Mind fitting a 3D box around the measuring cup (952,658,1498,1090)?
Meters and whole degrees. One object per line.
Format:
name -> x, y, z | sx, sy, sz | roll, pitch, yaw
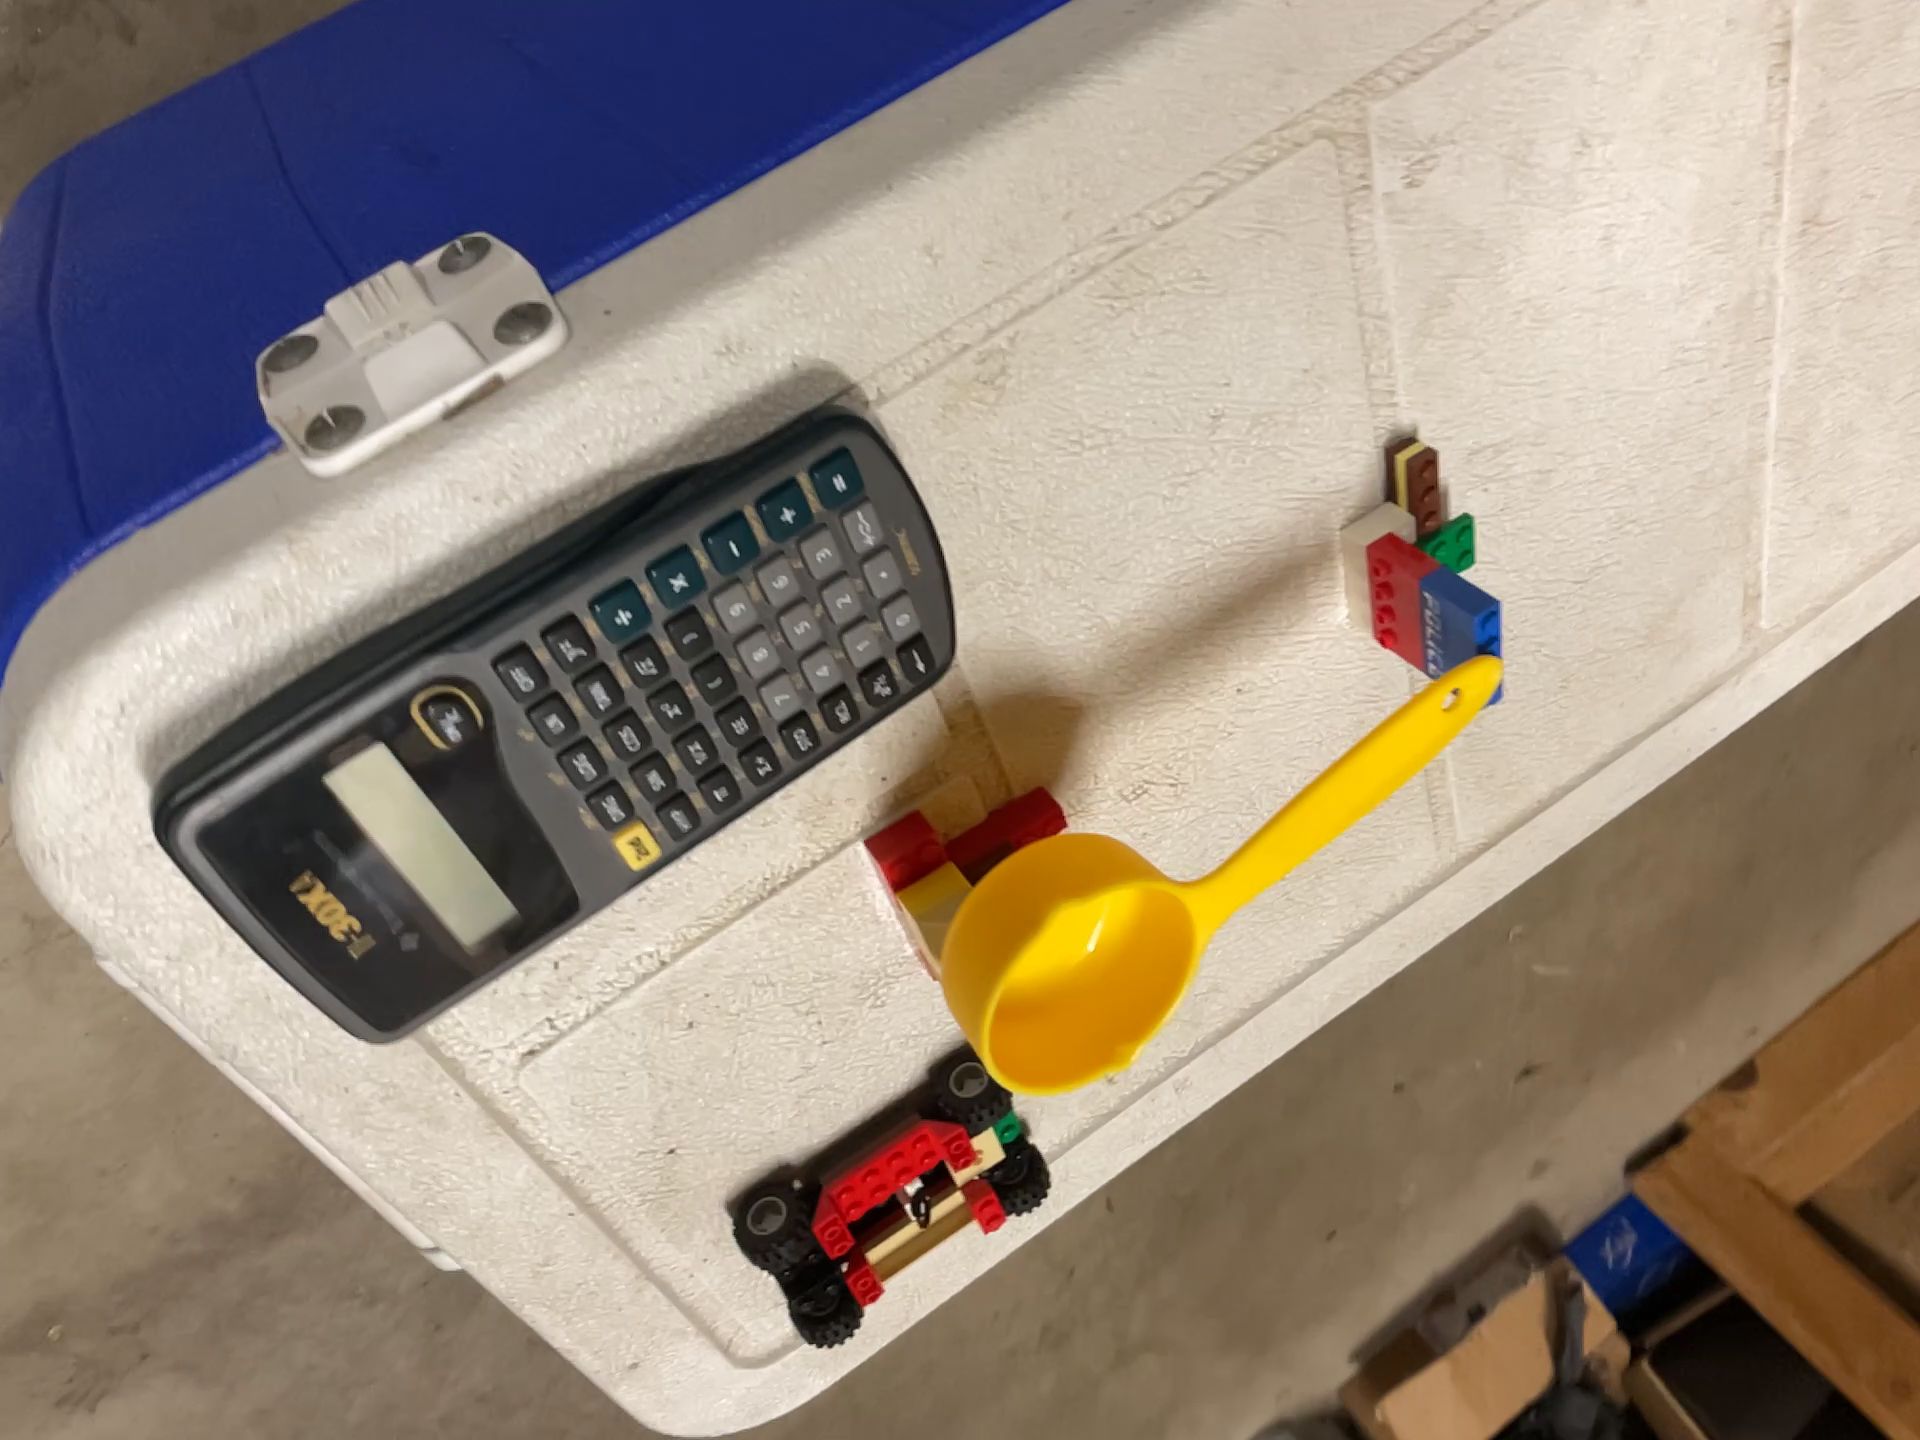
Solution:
measuring cup -> 0.064, 0.027, 0.382 | 0.156, 0.029, 0.062 | -36, 135, -13
